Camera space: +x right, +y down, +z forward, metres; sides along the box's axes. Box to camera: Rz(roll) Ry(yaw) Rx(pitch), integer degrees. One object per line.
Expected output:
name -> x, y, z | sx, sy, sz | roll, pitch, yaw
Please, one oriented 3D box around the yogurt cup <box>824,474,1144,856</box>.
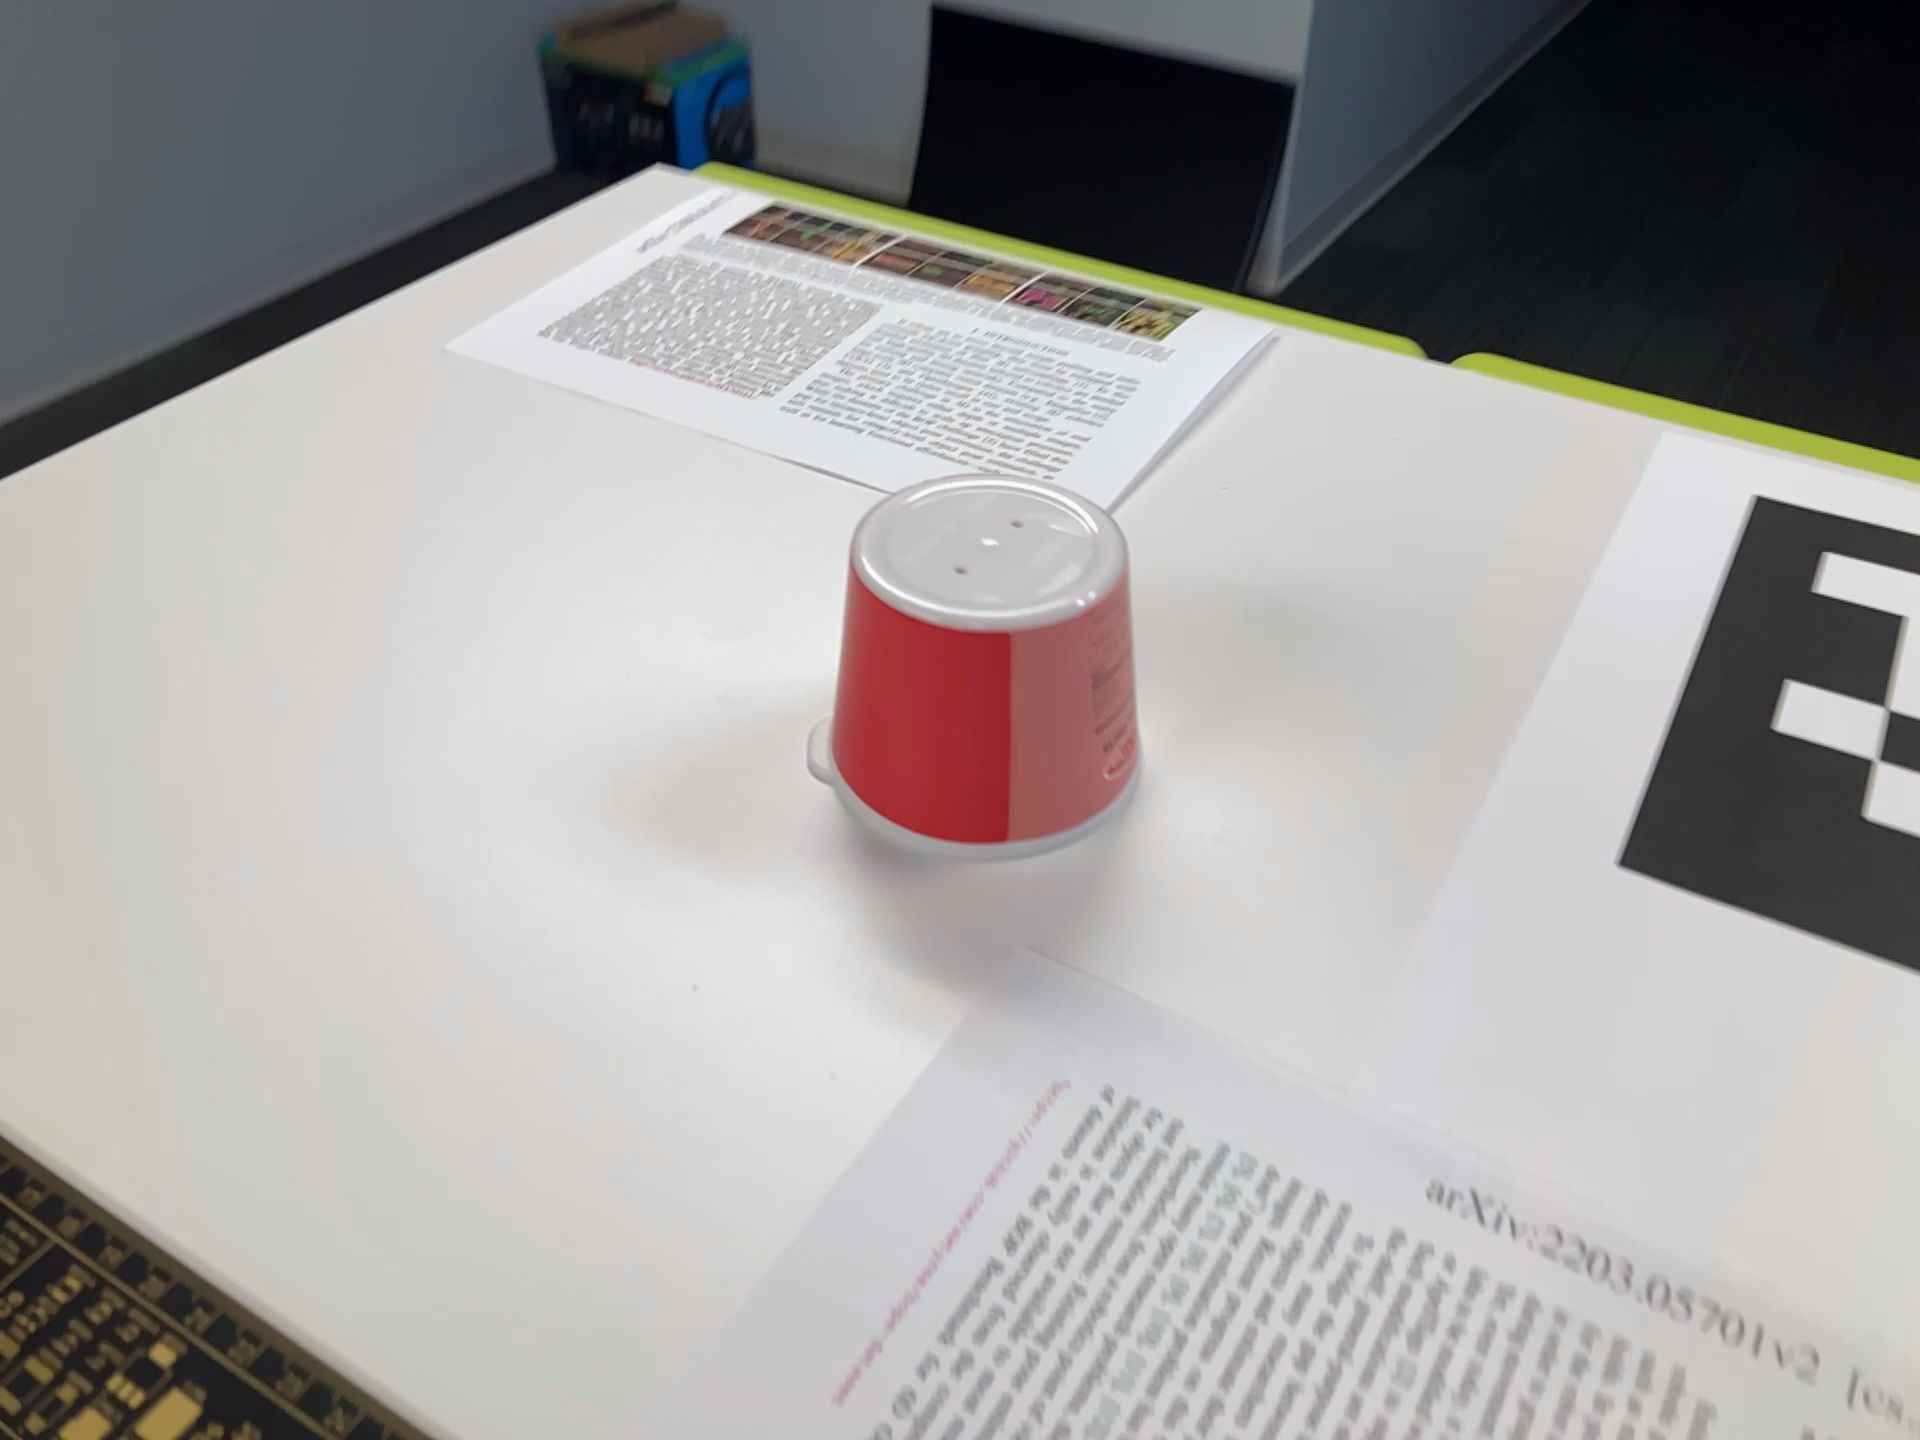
yogurt cup -> 0.005, -0.014, 0.323 | 0.072, 0.054, 0.072 | 1, 39, -1
